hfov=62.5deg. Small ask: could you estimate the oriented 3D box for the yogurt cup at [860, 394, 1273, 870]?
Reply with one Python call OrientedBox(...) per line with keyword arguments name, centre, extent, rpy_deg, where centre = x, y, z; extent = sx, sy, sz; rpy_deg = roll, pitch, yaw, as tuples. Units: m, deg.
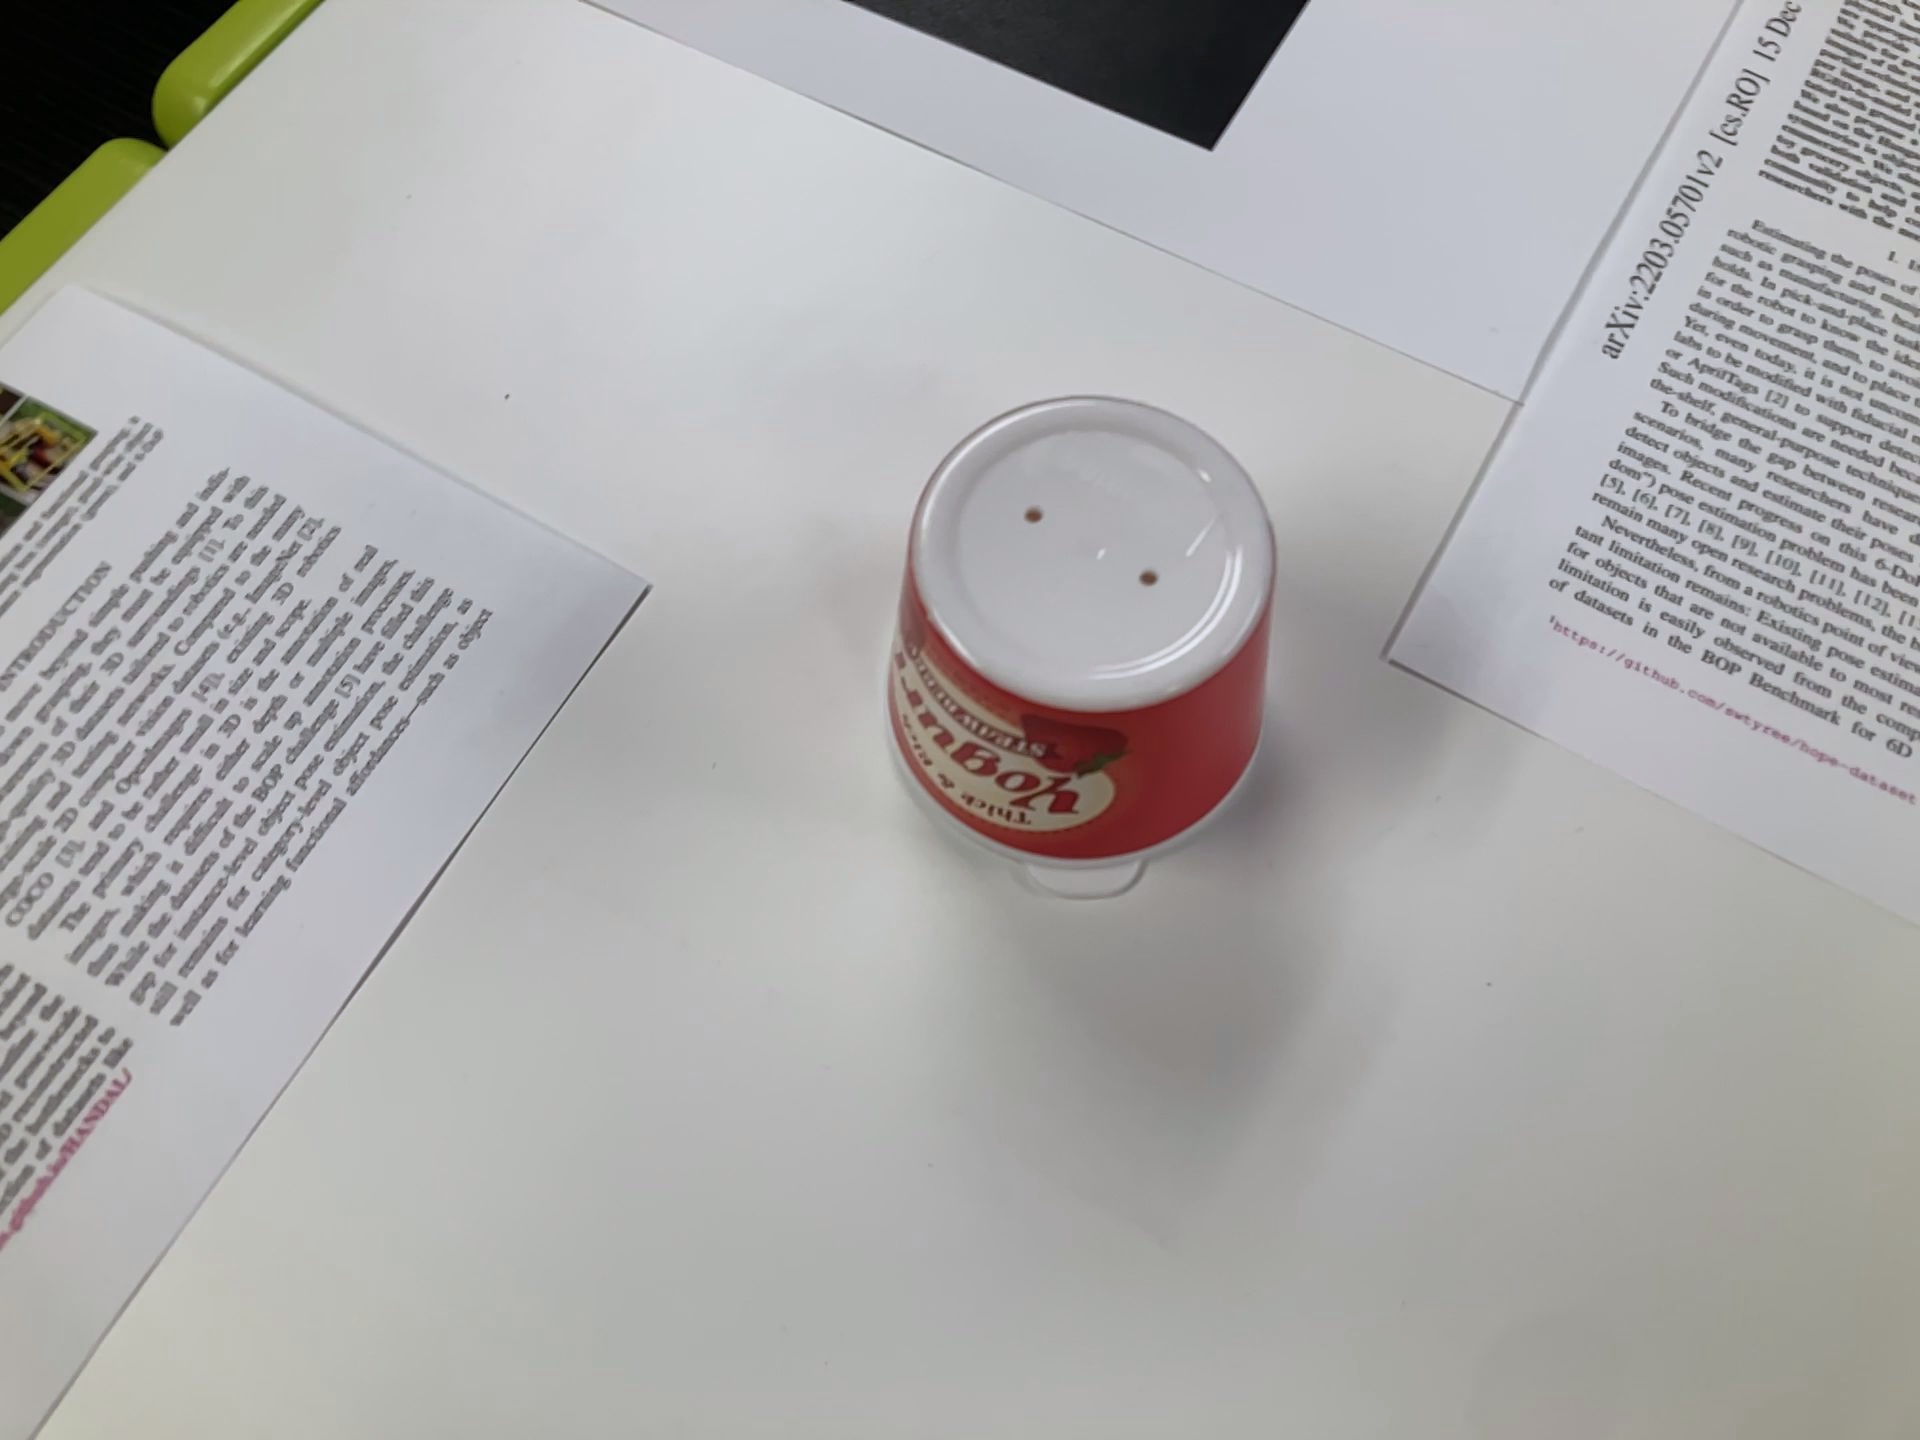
OrientedBox(name="yogurt cup", centre=(0.020, -0.016, 0.259), extent=(0.072, 0.054, 0.072), rpy_deg=(-1, 65, 1))
